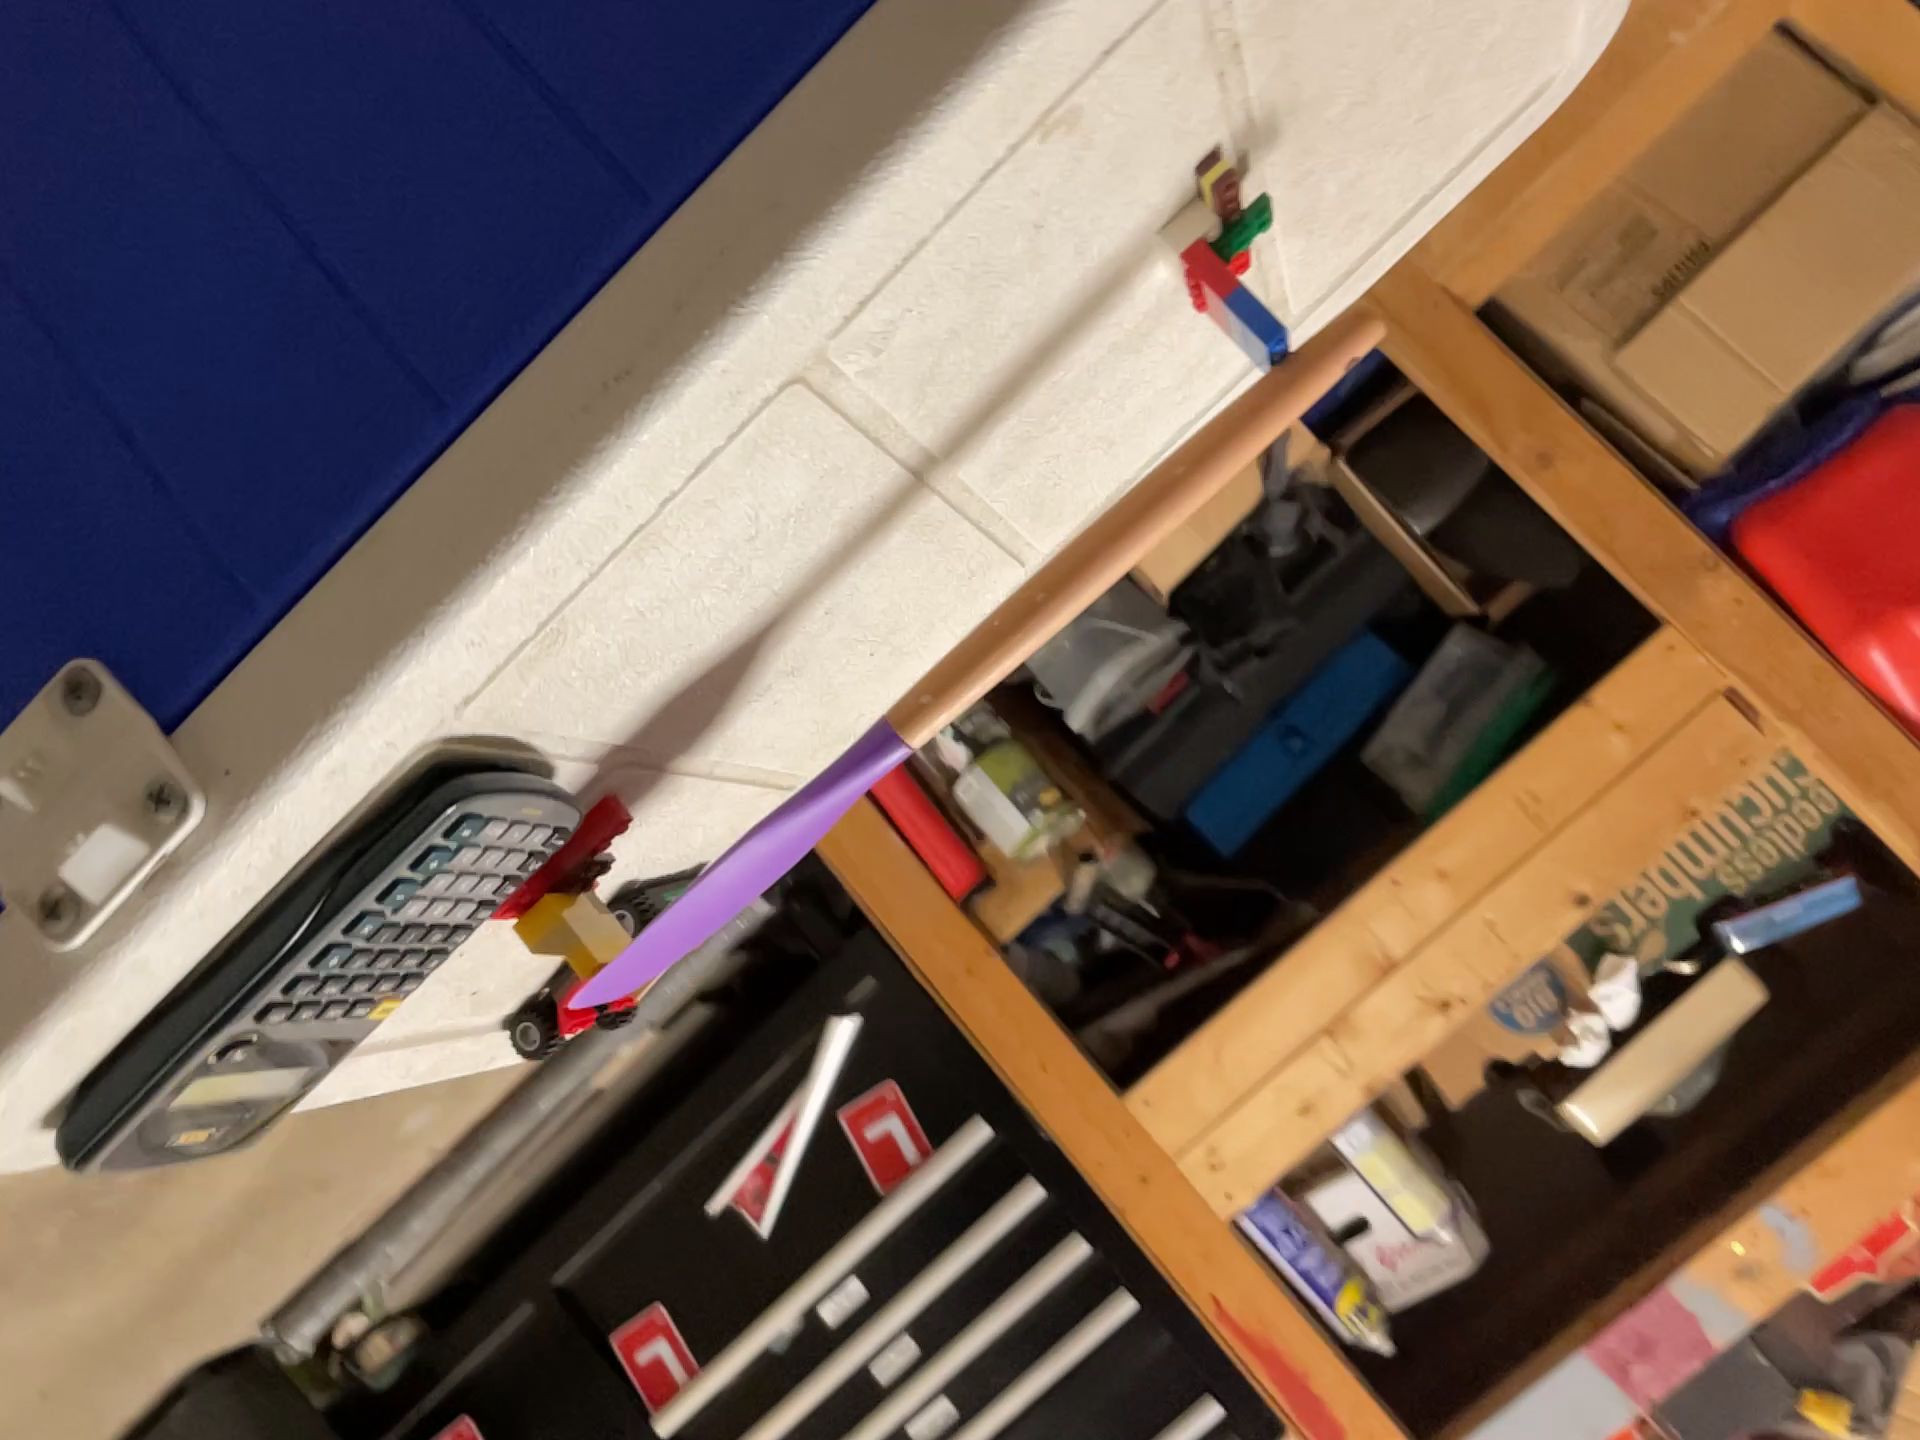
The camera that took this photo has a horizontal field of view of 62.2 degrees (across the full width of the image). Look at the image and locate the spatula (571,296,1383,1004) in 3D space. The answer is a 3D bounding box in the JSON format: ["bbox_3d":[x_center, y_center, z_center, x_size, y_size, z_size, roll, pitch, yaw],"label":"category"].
[{"bbox_3d":[0.002,-0.015,0.486,0.315,0.018,0.060,-42,166,9],"label":"spatula"}]
